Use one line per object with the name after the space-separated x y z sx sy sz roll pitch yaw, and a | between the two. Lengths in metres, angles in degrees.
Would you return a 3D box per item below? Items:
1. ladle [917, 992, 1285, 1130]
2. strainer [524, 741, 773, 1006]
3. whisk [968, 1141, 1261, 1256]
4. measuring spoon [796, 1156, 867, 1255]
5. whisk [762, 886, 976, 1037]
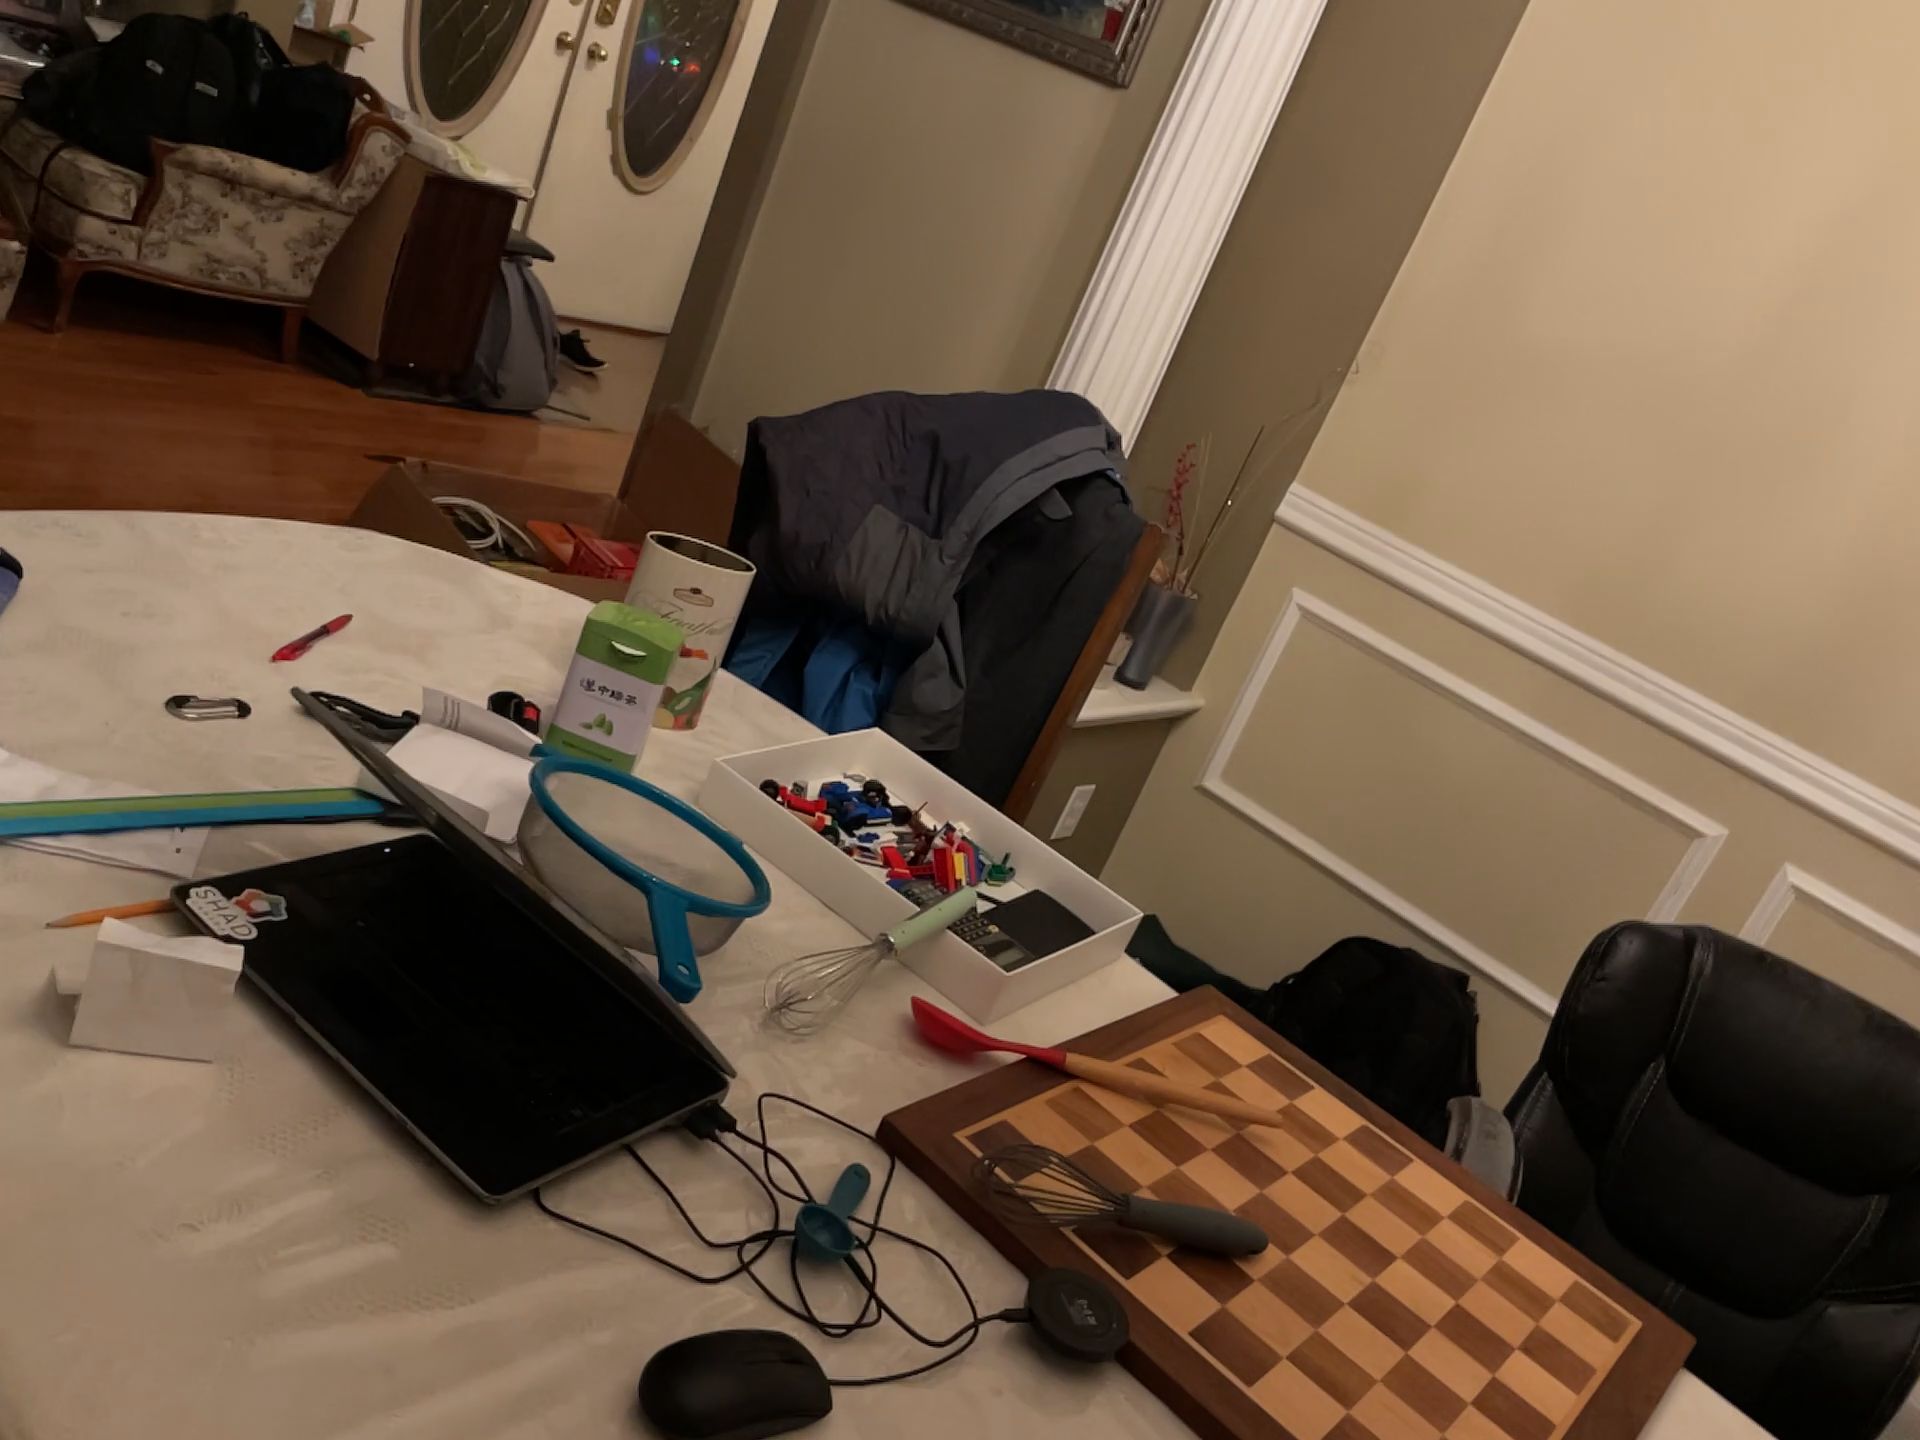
0.112 0.280 1.280 0.315 0.031 0.069 17 -2 -3 | ladle
-0.240 0.143 1.172 0.210 0.095 0.341 29 11 -24 | strainer
0.111 0.341 1.108 0.238 0.055 0.055 21 33 -20 | whisk
-0.082 0.317 1.038 0.042 0.021 0.128 33 8 3 | measuring spoon
-0.067 0.186 1.281 0.246 0.058 0.059 -25 80 -47 | whisk
